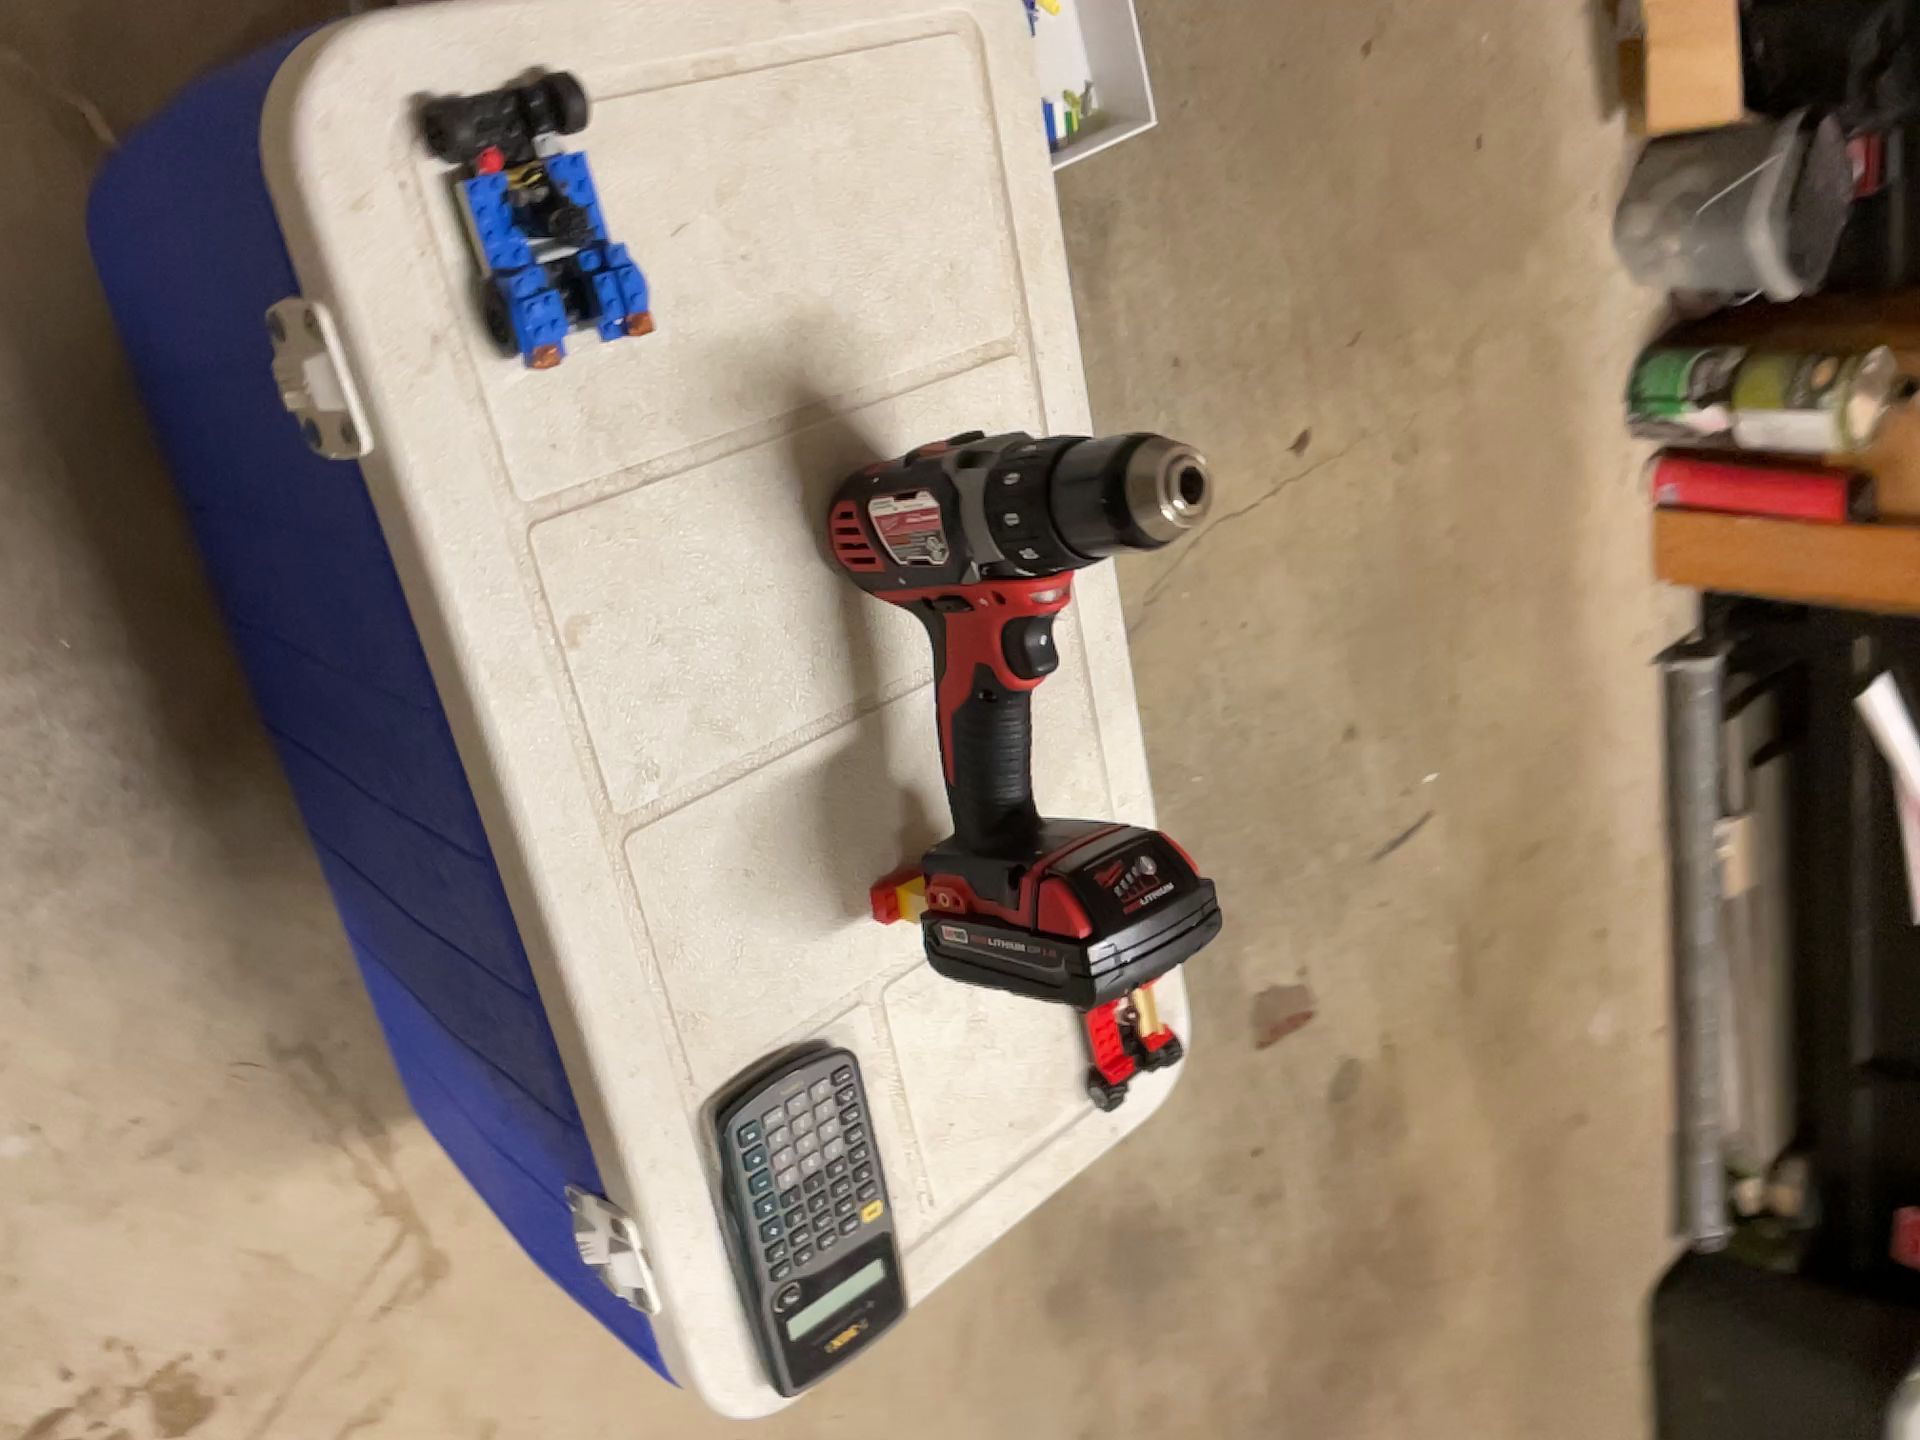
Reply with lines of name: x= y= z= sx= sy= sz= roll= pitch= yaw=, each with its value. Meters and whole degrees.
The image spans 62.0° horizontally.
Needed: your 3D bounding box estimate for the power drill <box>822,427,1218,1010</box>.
power drill: x=0.036 y=-0.006 z=0.638 sx=0.080 sy=0.187 sz=0.226 roll=-21 pitch=104 yaw=-38
